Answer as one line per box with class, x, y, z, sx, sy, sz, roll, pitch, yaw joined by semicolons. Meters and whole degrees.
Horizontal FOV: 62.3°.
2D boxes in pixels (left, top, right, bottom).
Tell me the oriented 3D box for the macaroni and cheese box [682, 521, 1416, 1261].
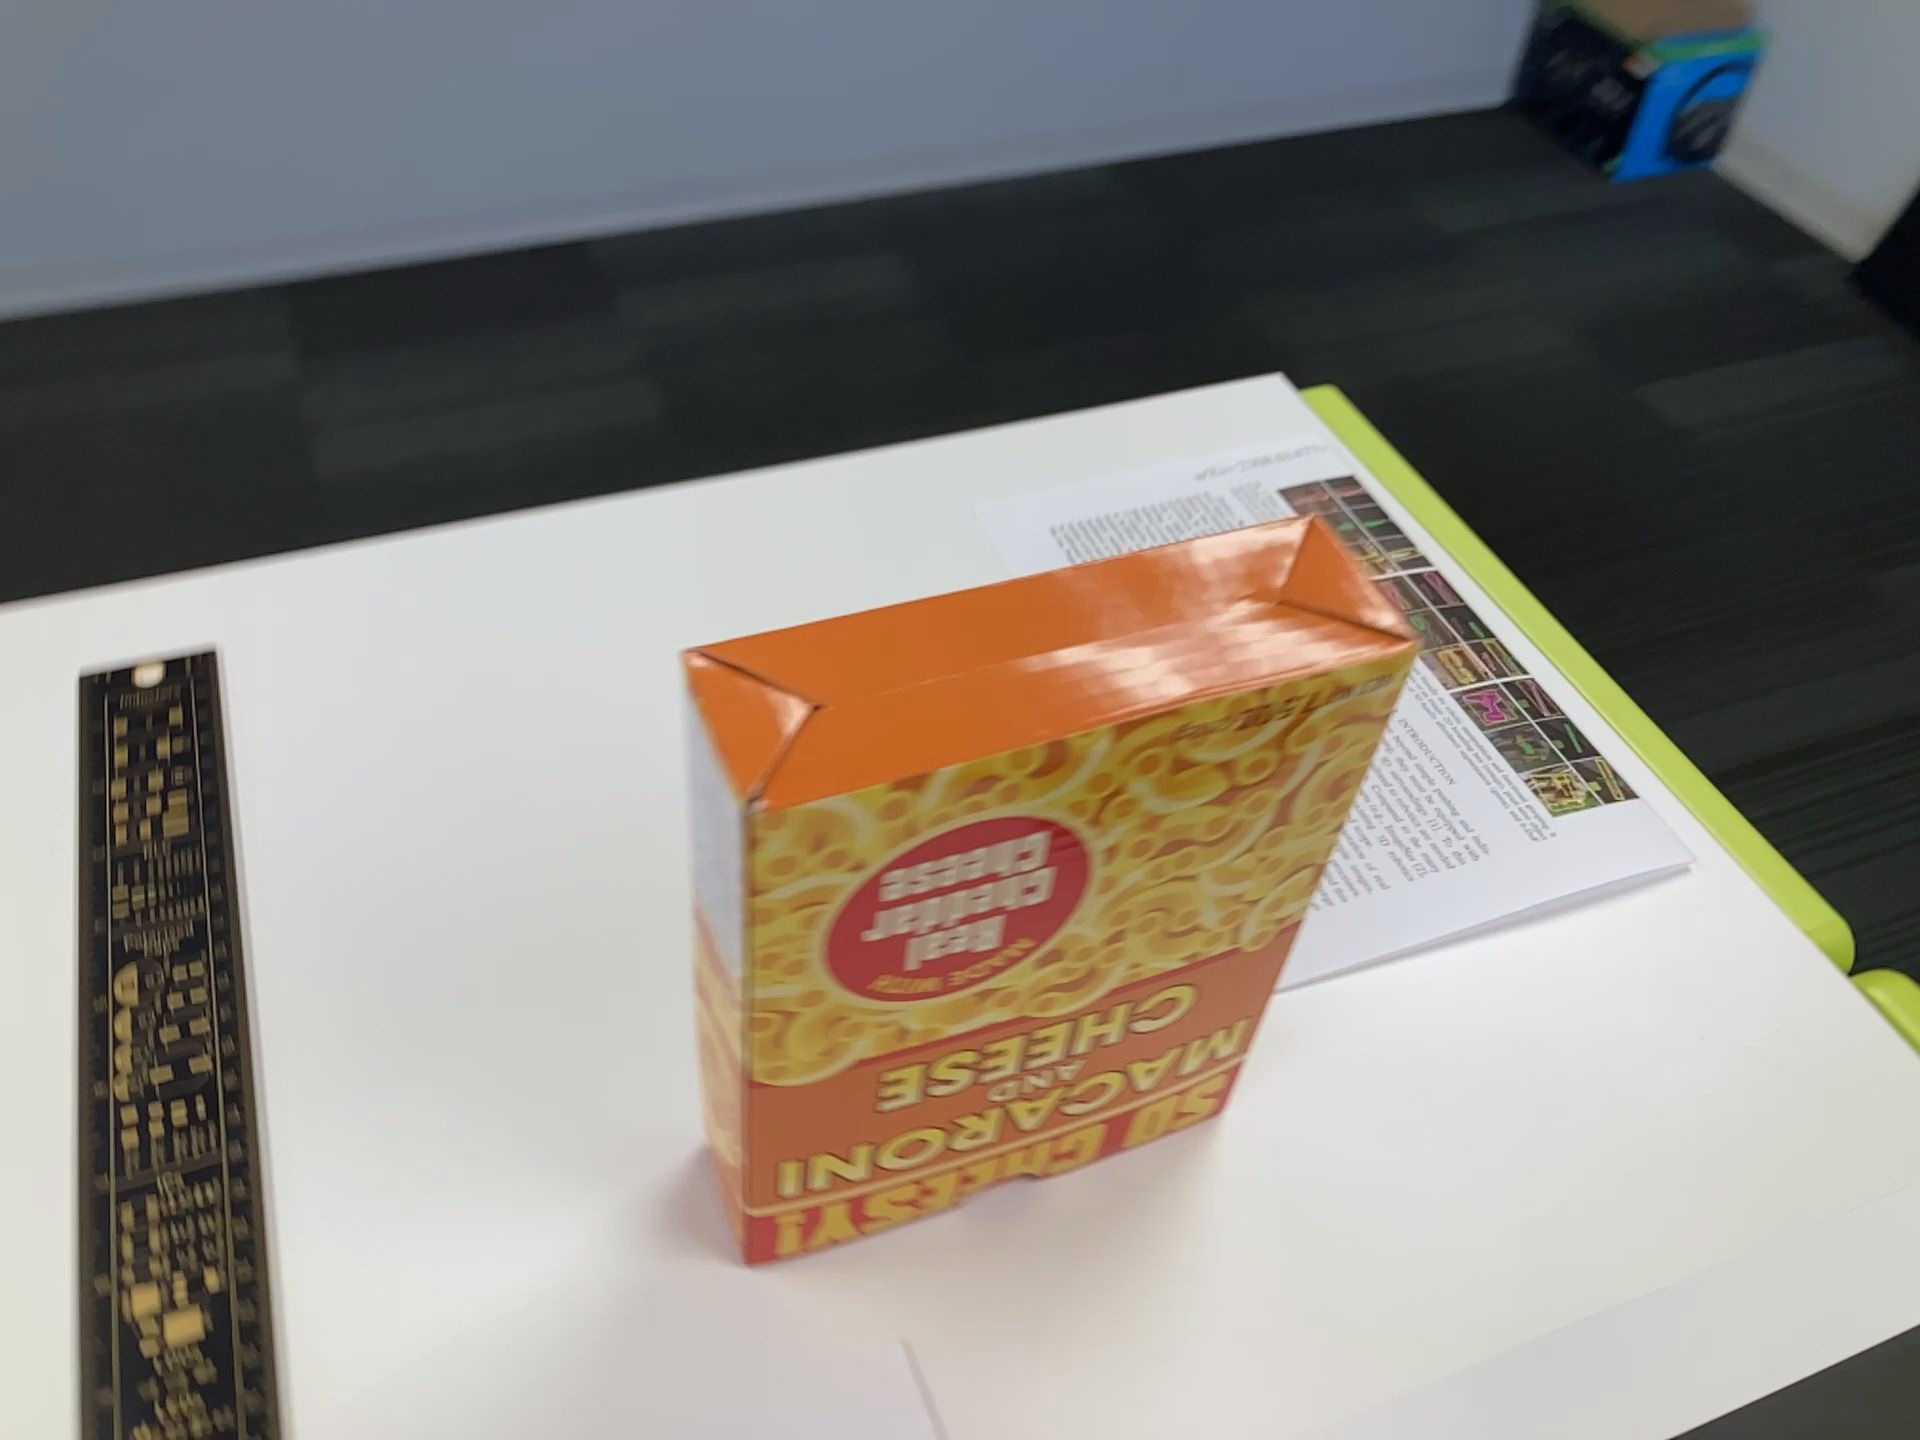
macaroni and cheese box;0.009;0.044;0.329;0.124;0.166;0.040;-13;50;-18
